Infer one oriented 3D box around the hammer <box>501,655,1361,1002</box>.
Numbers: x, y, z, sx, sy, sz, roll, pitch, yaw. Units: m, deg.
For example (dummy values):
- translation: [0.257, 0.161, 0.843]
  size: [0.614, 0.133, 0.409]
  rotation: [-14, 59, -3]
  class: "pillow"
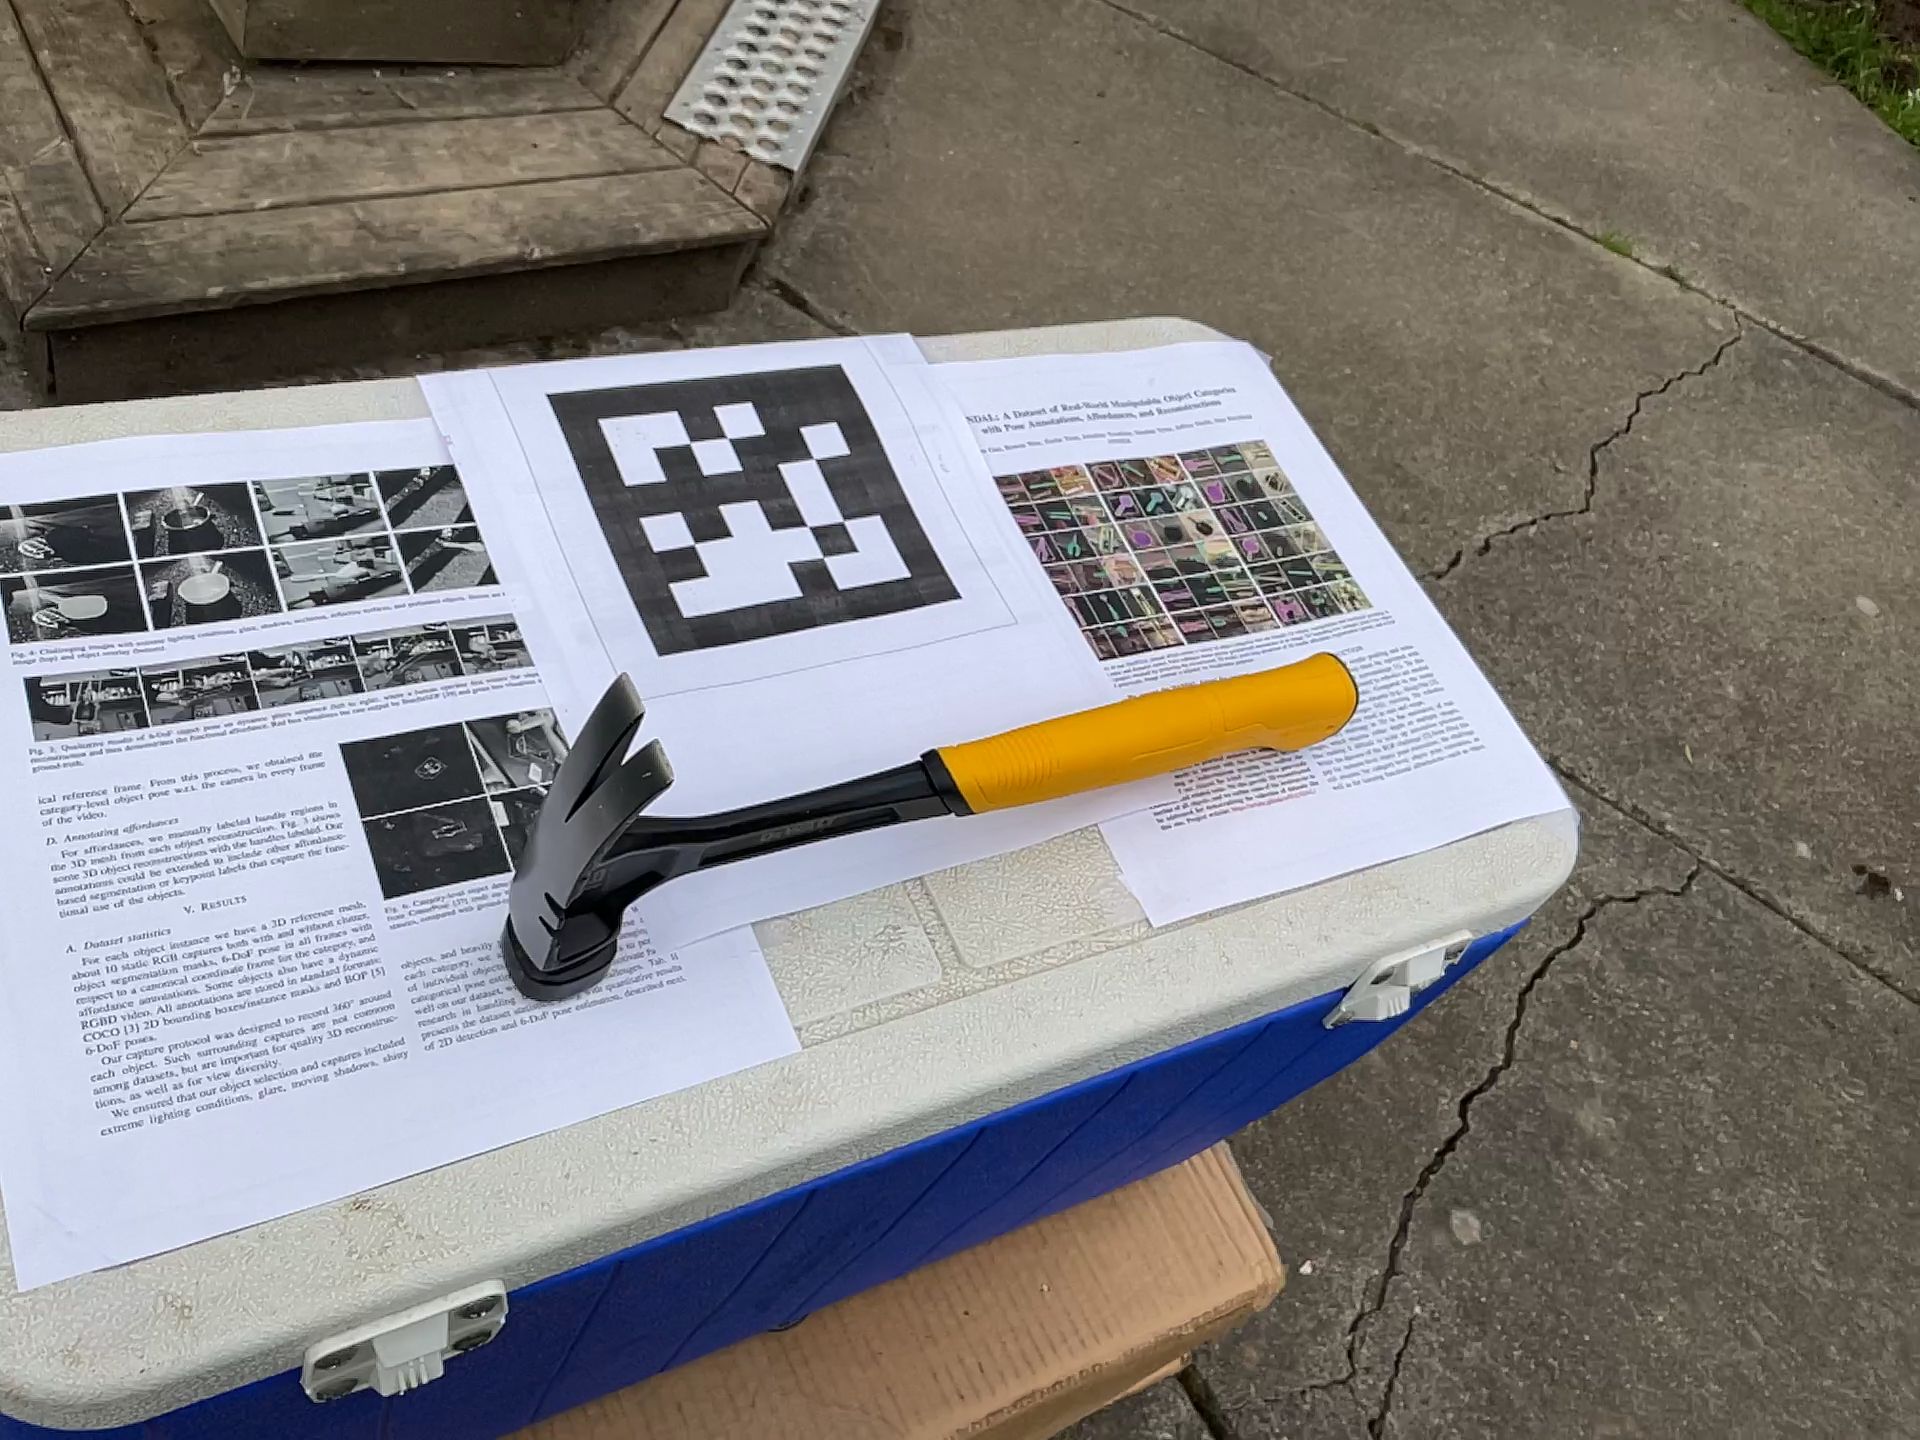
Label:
- translation: [0.019, 0.013, 0.540]
  size: [0.336, 0.127, 0.034]
  rotation: [-11, 60, -35]
  class: "hammer"
